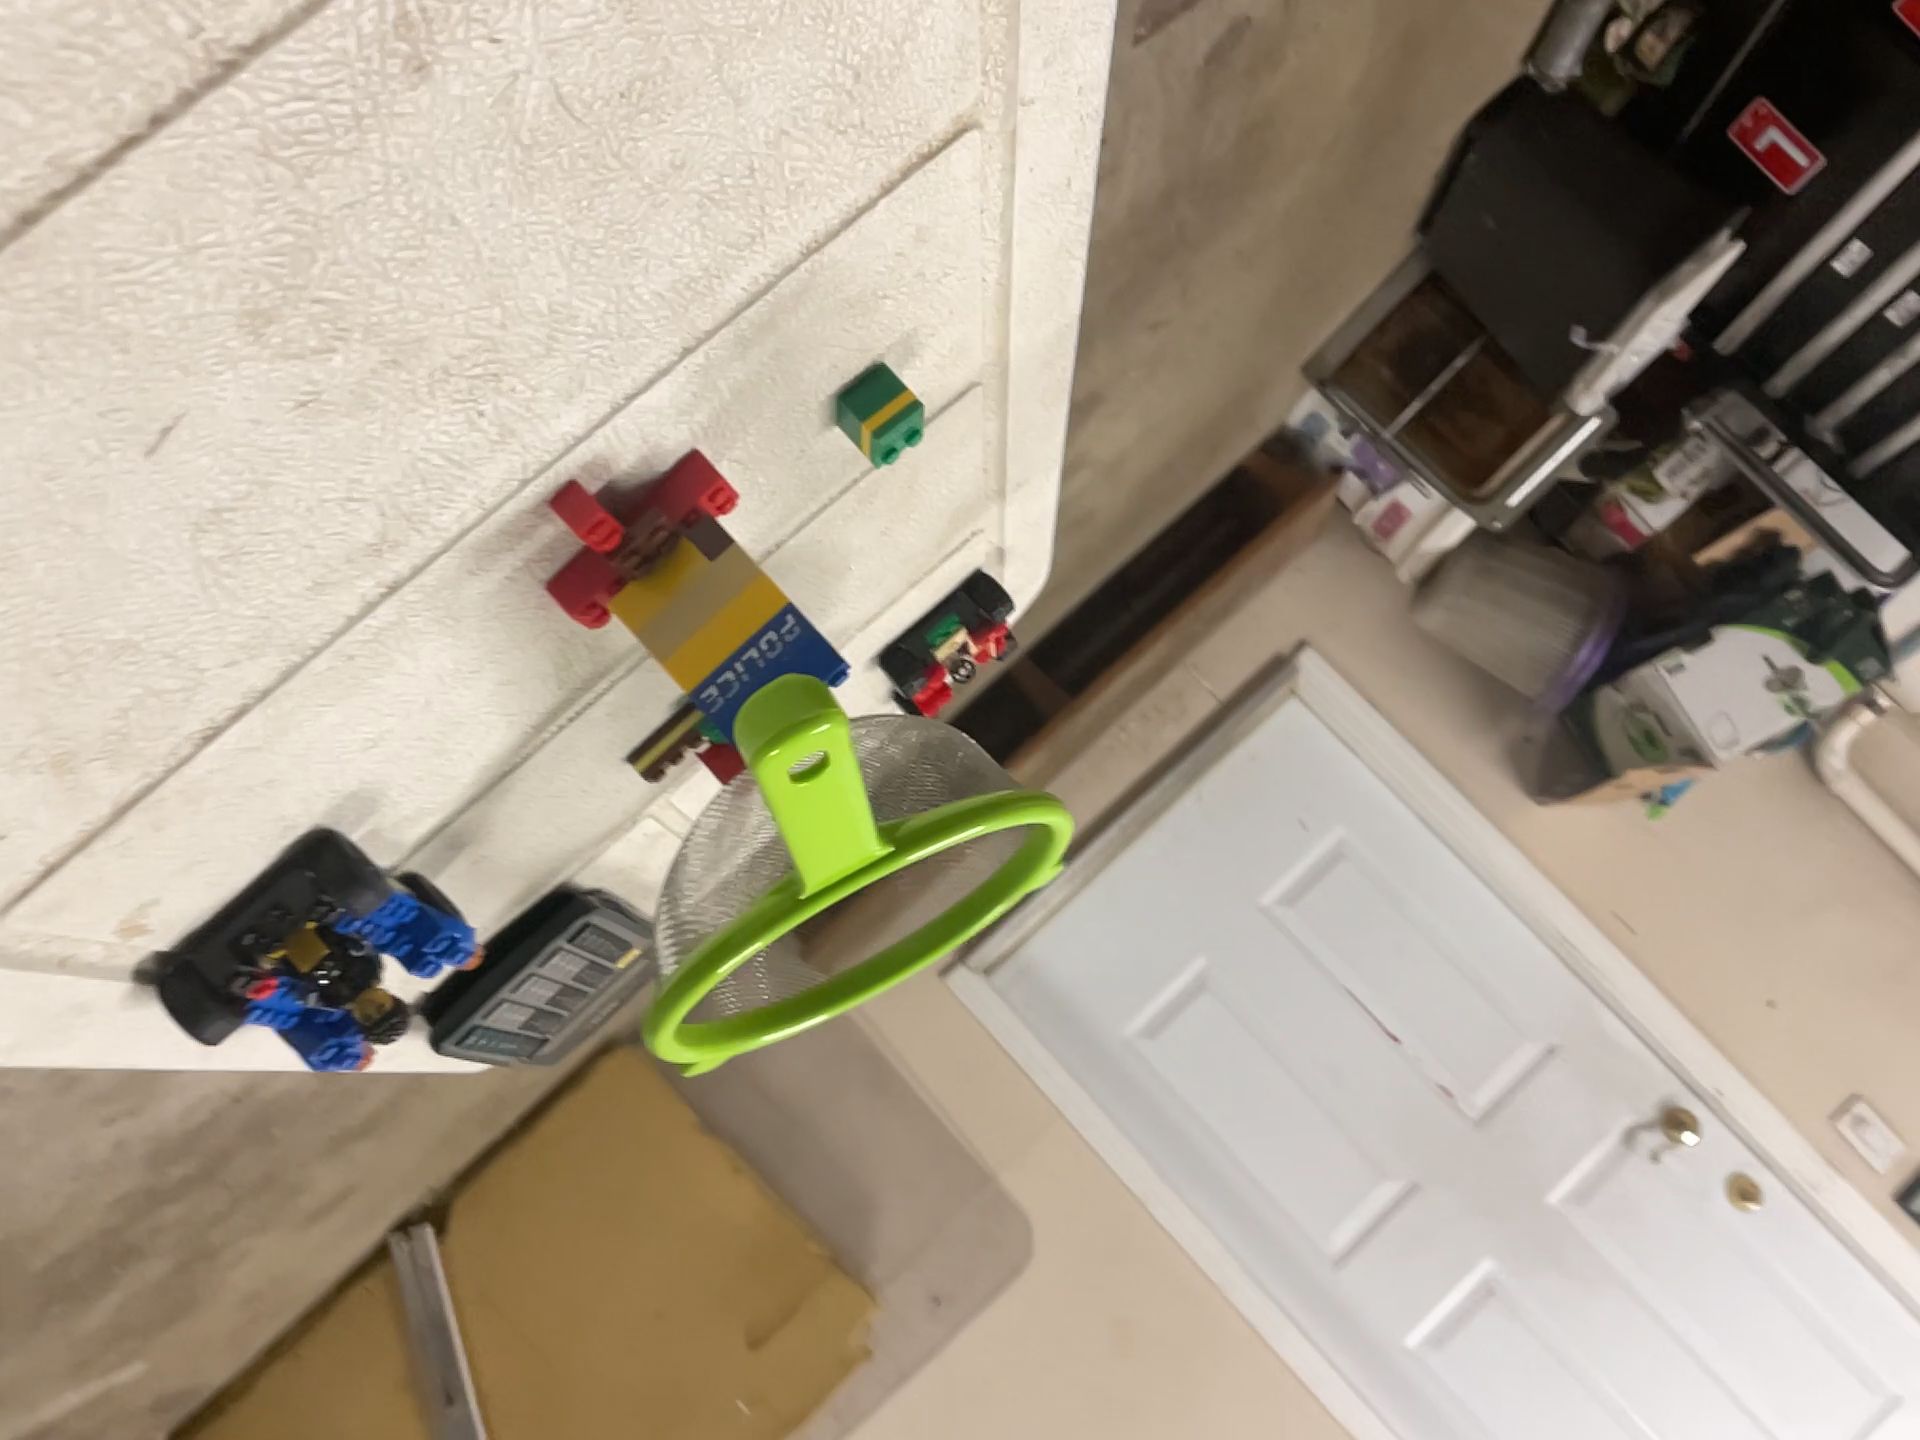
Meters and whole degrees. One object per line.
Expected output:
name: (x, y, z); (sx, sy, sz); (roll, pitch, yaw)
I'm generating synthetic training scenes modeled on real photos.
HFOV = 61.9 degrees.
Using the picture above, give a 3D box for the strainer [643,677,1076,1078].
strainer: (-0.045, 0.026, 0.467); (0.151, 0.069, 0.256); (-28, 160, -9)
